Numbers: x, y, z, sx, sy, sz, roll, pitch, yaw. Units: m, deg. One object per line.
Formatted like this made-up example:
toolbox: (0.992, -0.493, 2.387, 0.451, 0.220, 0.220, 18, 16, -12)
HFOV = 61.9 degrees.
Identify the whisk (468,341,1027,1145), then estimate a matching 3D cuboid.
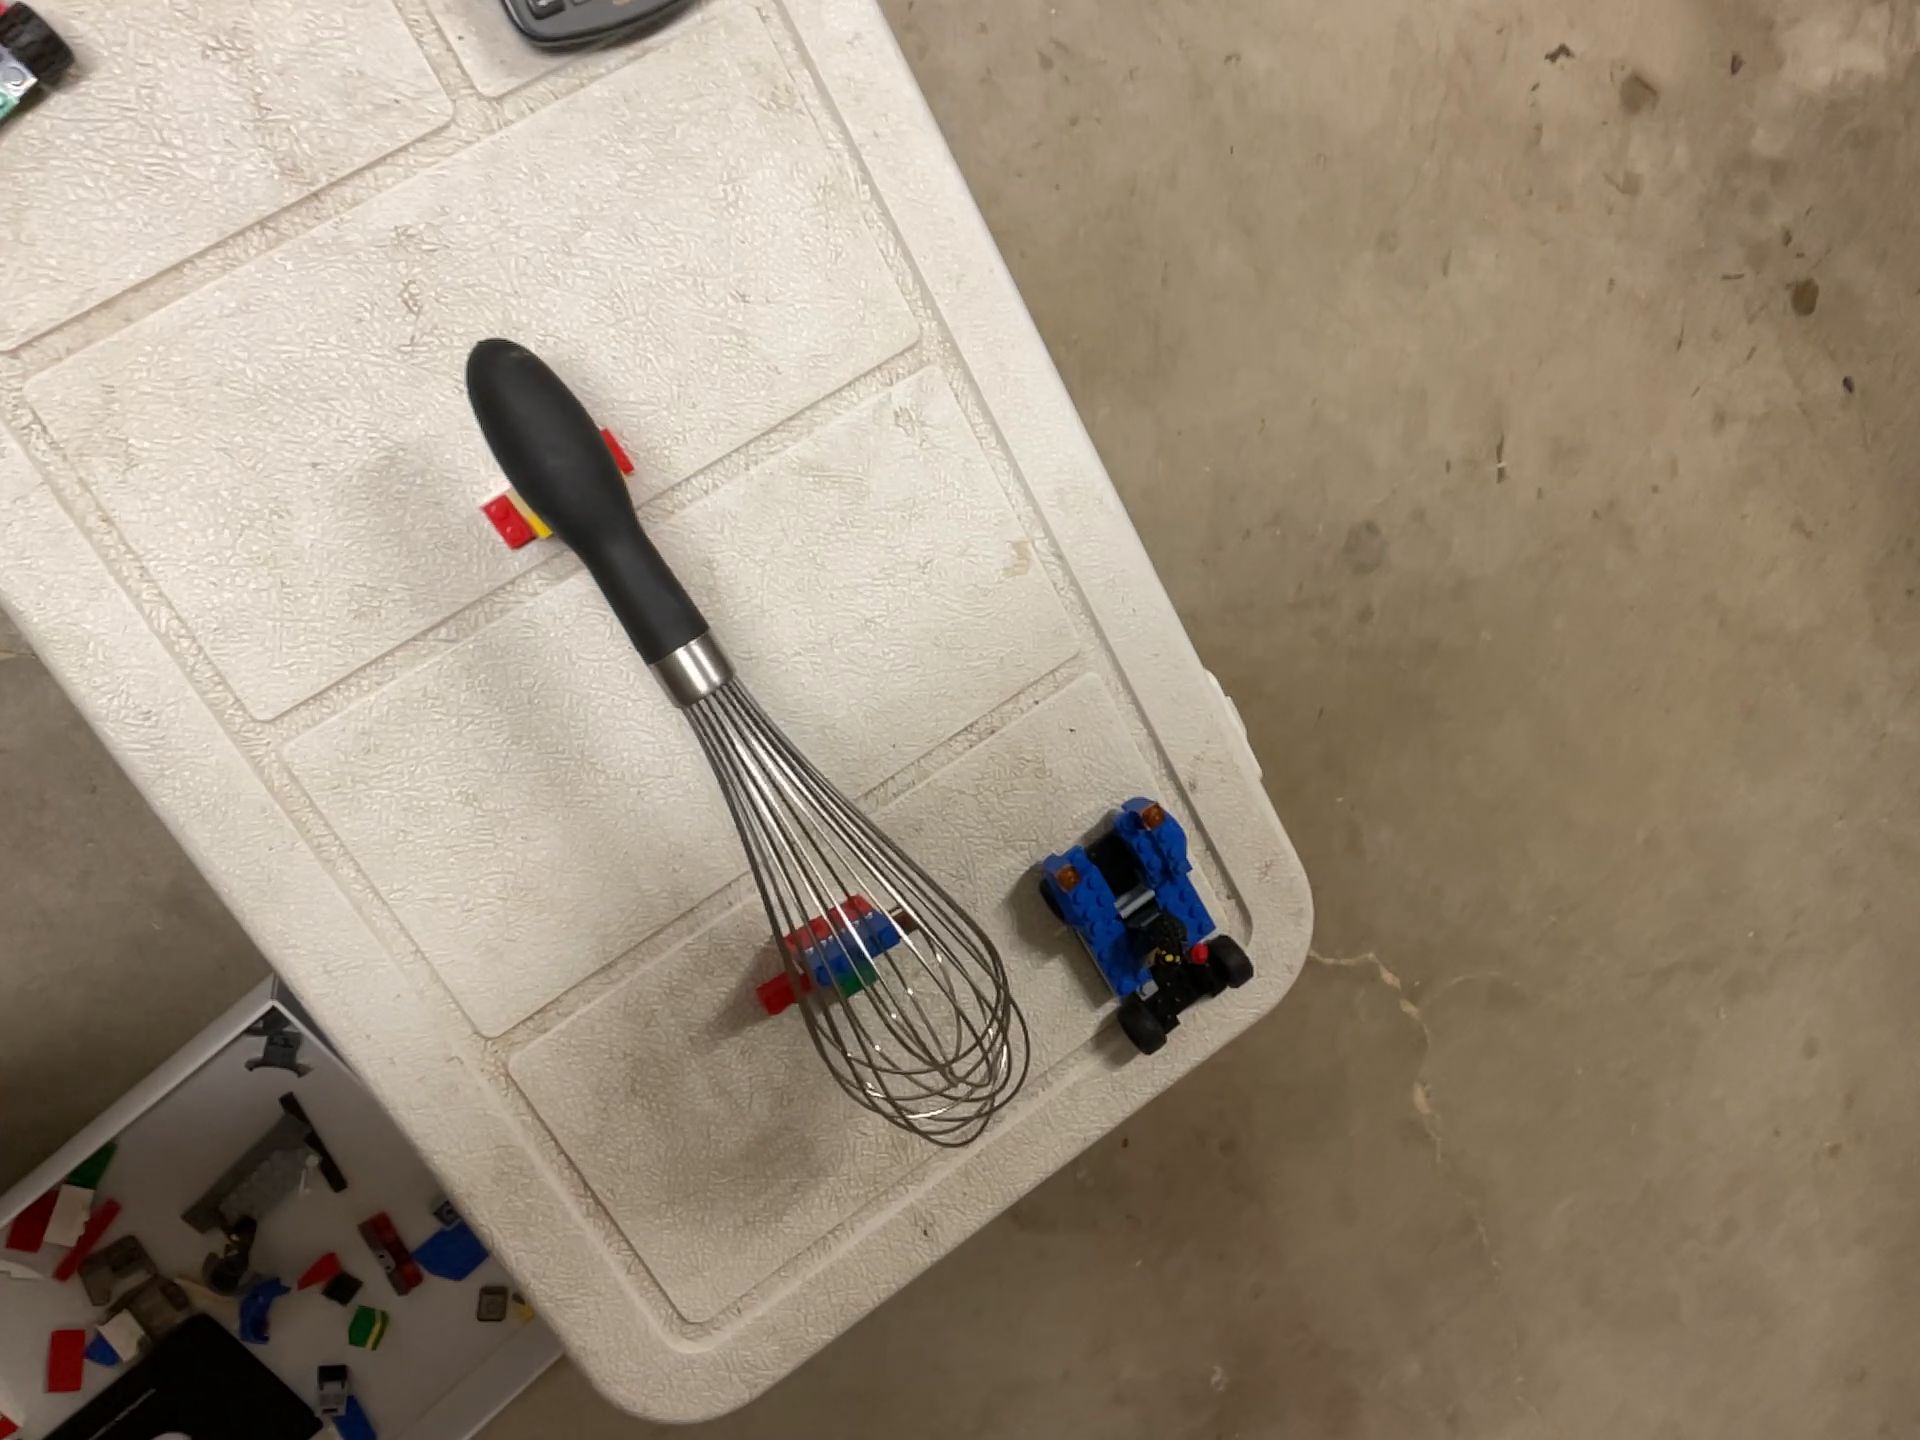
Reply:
whisk: (-0.065, 0.011, 0.489, 0.070, 0.070, 0.284, -33, 102, -8)
